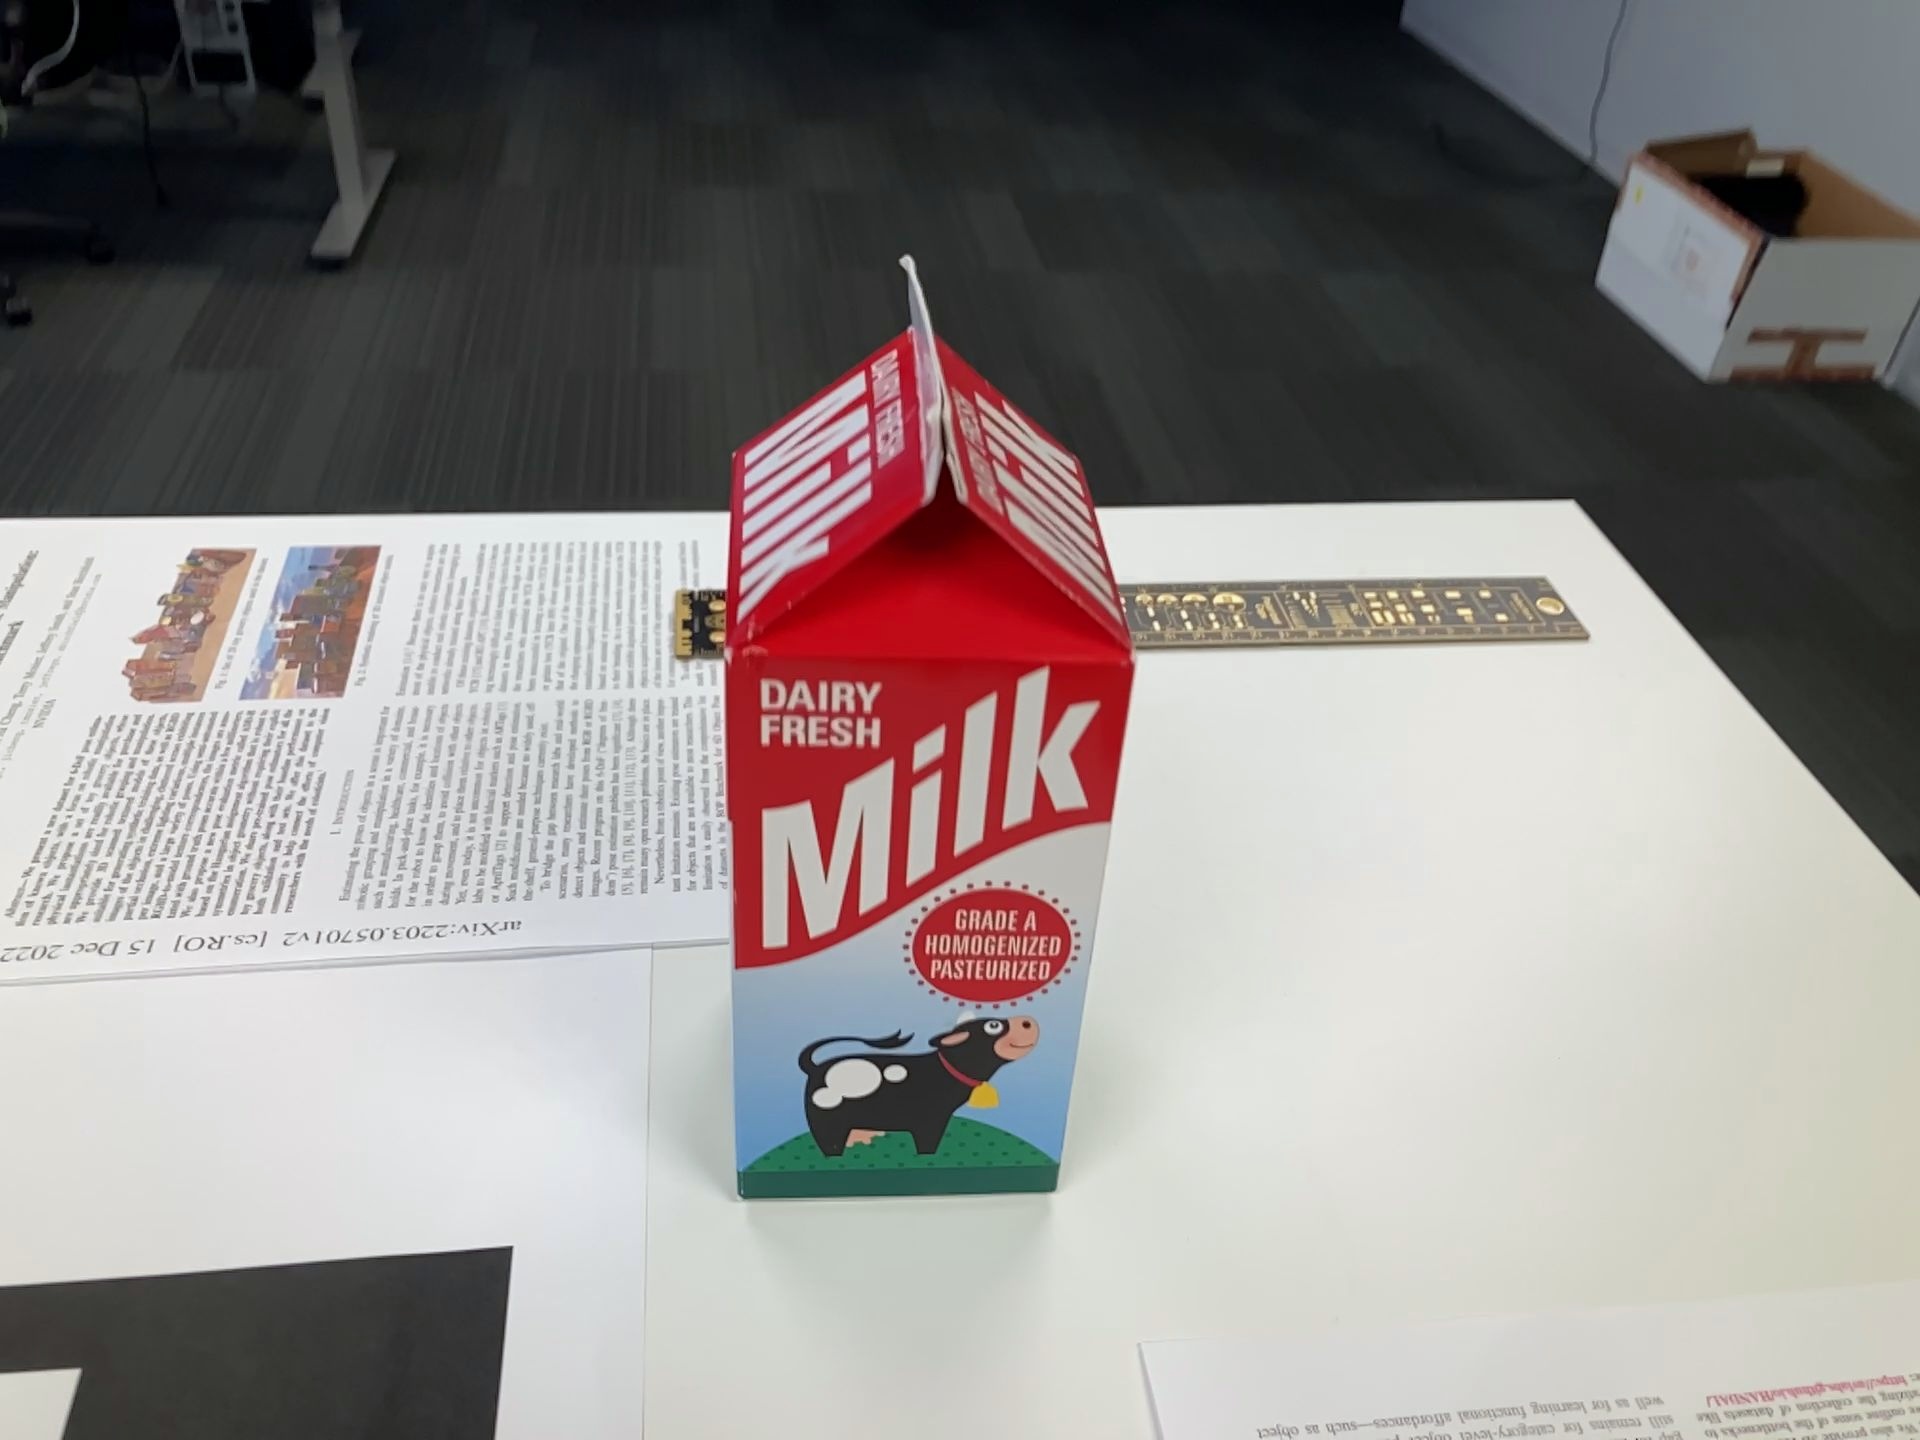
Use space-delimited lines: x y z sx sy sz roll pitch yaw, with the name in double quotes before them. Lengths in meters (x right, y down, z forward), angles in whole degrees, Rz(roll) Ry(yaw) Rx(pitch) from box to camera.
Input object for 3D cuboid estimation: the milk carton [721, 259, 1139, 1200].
"milk carton" -0.010 0.011 0.323 0.073 0.190 0.072 0 37 -6
